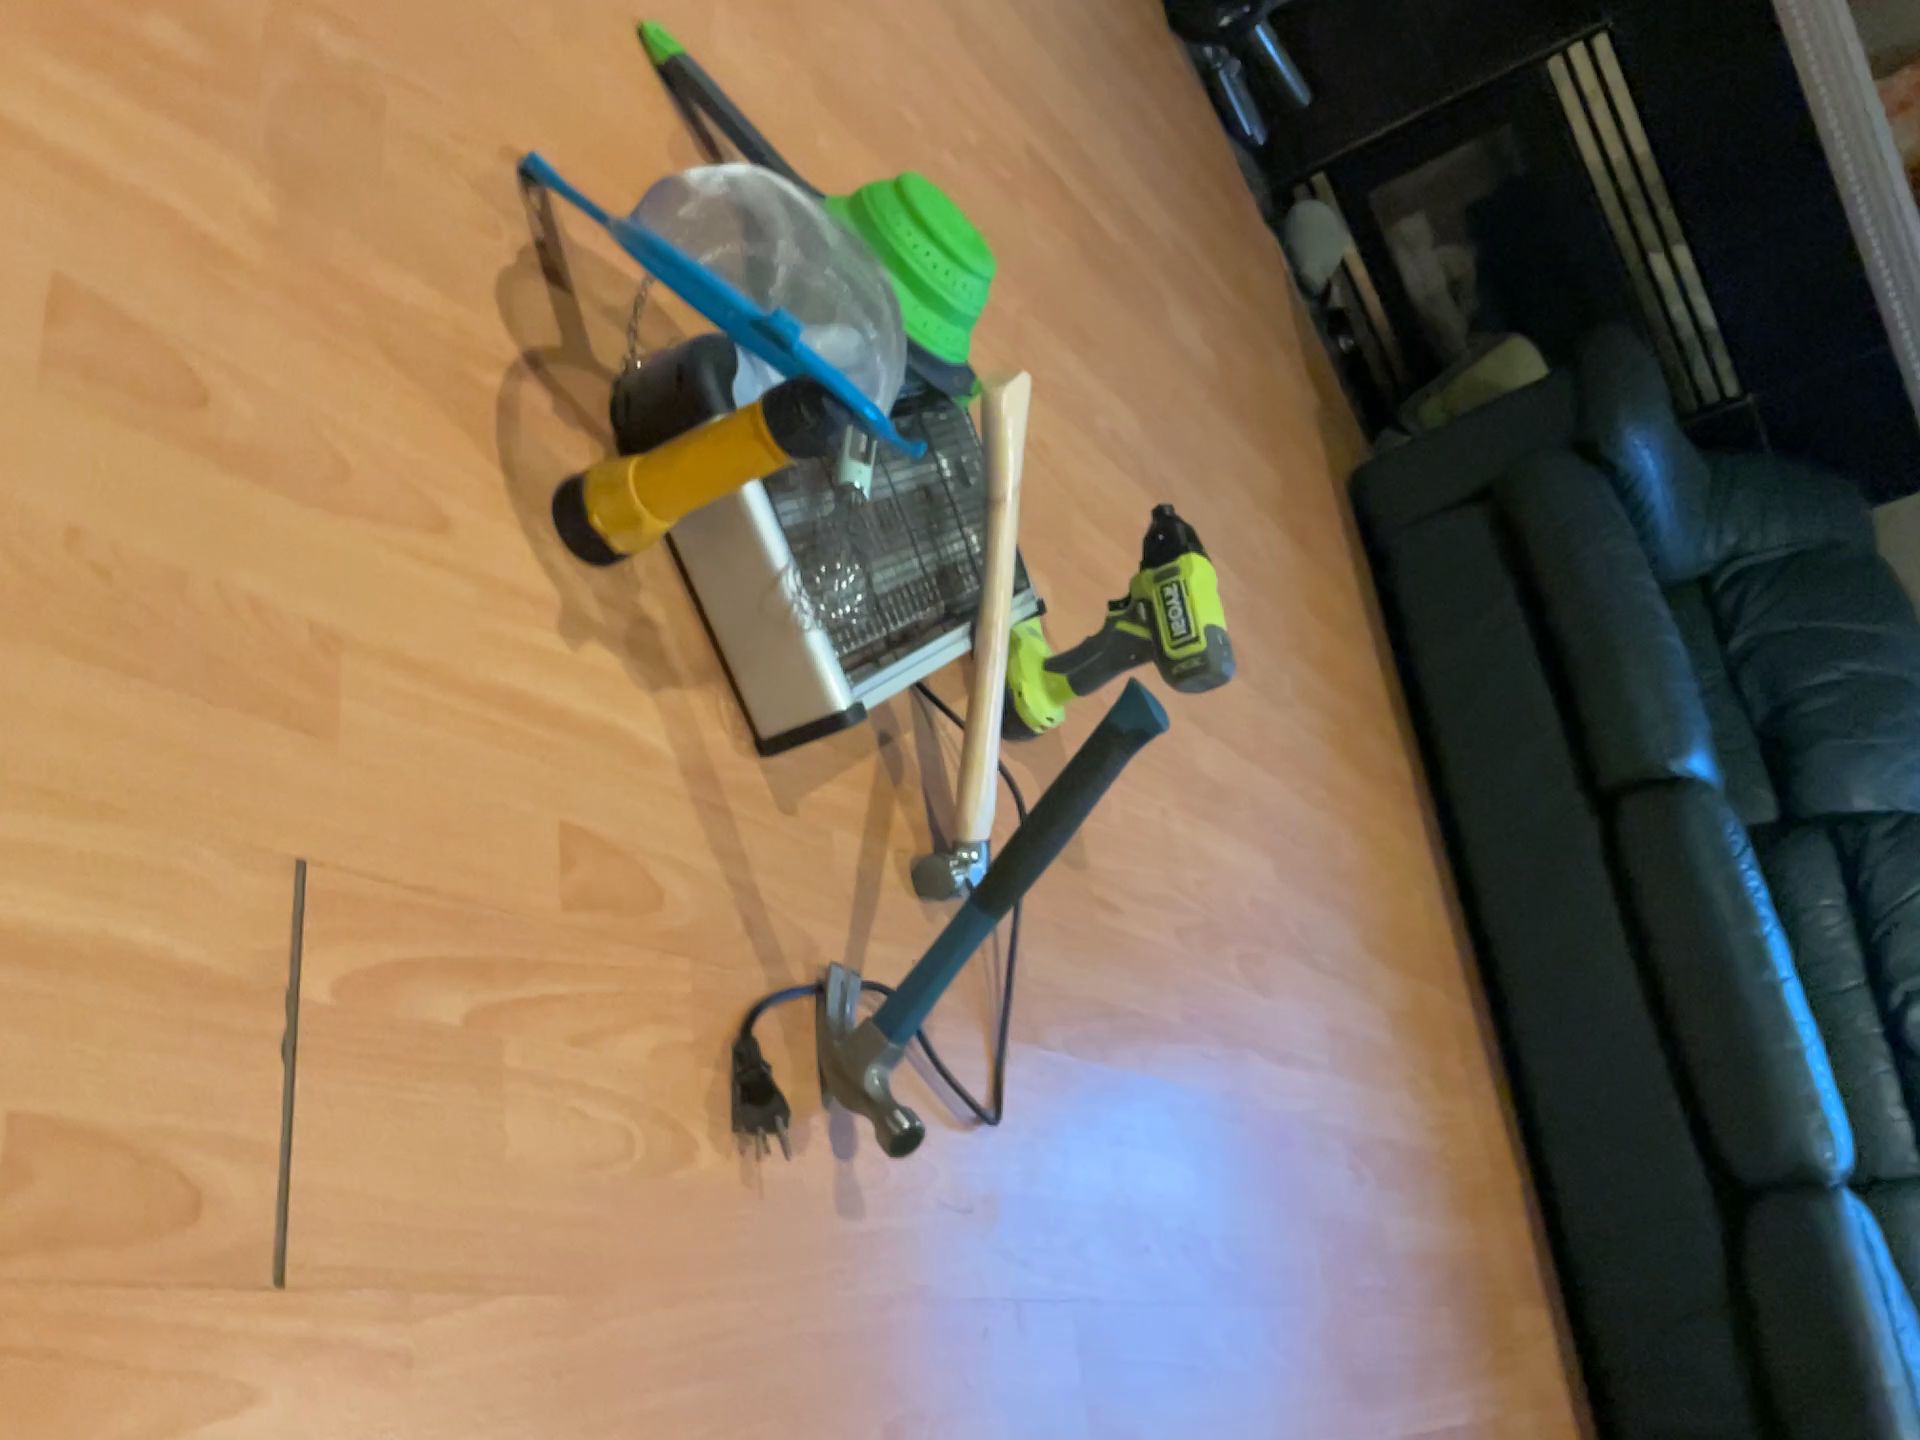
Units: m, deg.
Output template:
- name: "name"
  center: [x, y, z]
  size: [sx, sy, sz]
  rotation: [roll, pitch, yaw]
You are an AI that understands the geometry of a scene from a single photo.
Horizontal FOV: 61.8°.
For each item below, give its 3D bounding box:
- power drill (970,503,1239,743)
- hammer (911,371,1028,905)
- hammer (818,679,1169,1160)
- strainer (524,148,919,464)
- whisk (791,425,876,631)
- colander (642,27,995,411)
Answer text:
- name: "power drill"
  center: [0.123, -0.081, 1.414]
  size: [0.080, 0.223, 0.171]
  rotation: [23, 51, -55]
- name: "hammer"
  center: [0.027, -0.065, 1.264]
  size: [0.146, 0.038, 0.410]
  rotation: [-2, 97, -61]
- name: "hammer"
  center: [0.025, 0.115, 1.036]
  size: [0.128, 0.331, 0.033]
  rotation: [39, 2, 43]
- name: "strainer"
  center: [-0.150, -0.307, 1.017]
  size: [0.340, 0.095, 0.211]
  rotation: [41, 4, 25]
- name: "whisk"
  center: [-0.078, -0.150, 1.113]
  size: [0.058, 0.059, 0.246]
  rotation: [22, 42, -17]
- name: "colander"
  center: [-0.094, -0.432, 1.303]
  size: [0.397, 0.094, 0.205]
  rotation: [47, 24, -6]
